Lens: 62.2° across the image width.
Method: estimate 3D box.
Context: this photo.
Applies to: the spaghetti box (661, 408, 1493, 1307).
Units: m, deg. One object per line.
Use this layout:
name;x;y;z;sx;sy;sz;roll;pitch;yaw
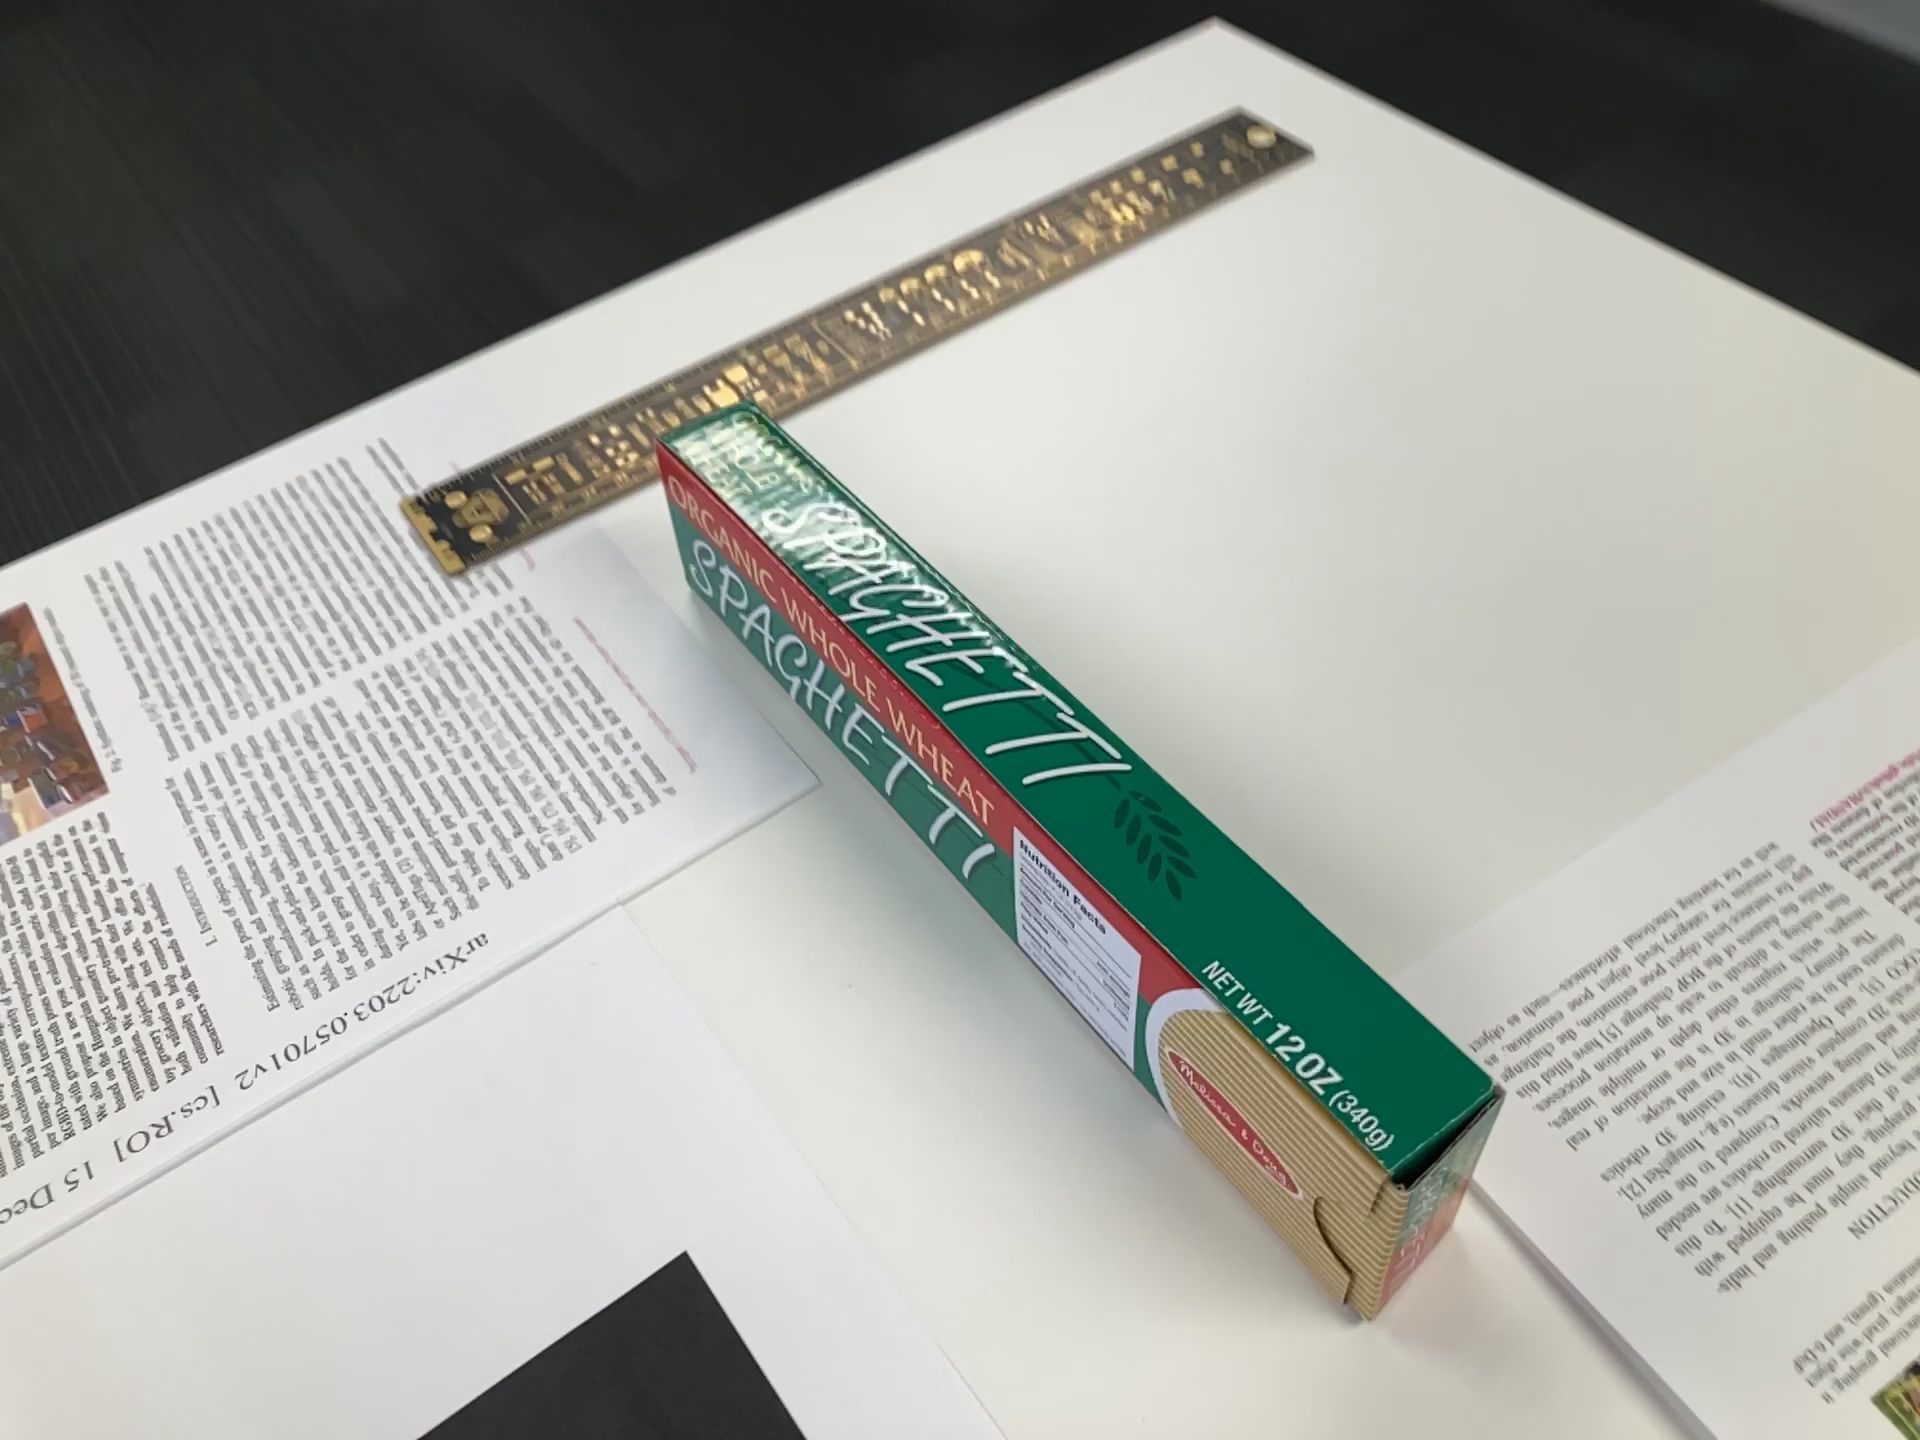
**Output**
spaghetti box;0.007;0.012;0.345;0.028;0.050;0.250;-28;52;-22
